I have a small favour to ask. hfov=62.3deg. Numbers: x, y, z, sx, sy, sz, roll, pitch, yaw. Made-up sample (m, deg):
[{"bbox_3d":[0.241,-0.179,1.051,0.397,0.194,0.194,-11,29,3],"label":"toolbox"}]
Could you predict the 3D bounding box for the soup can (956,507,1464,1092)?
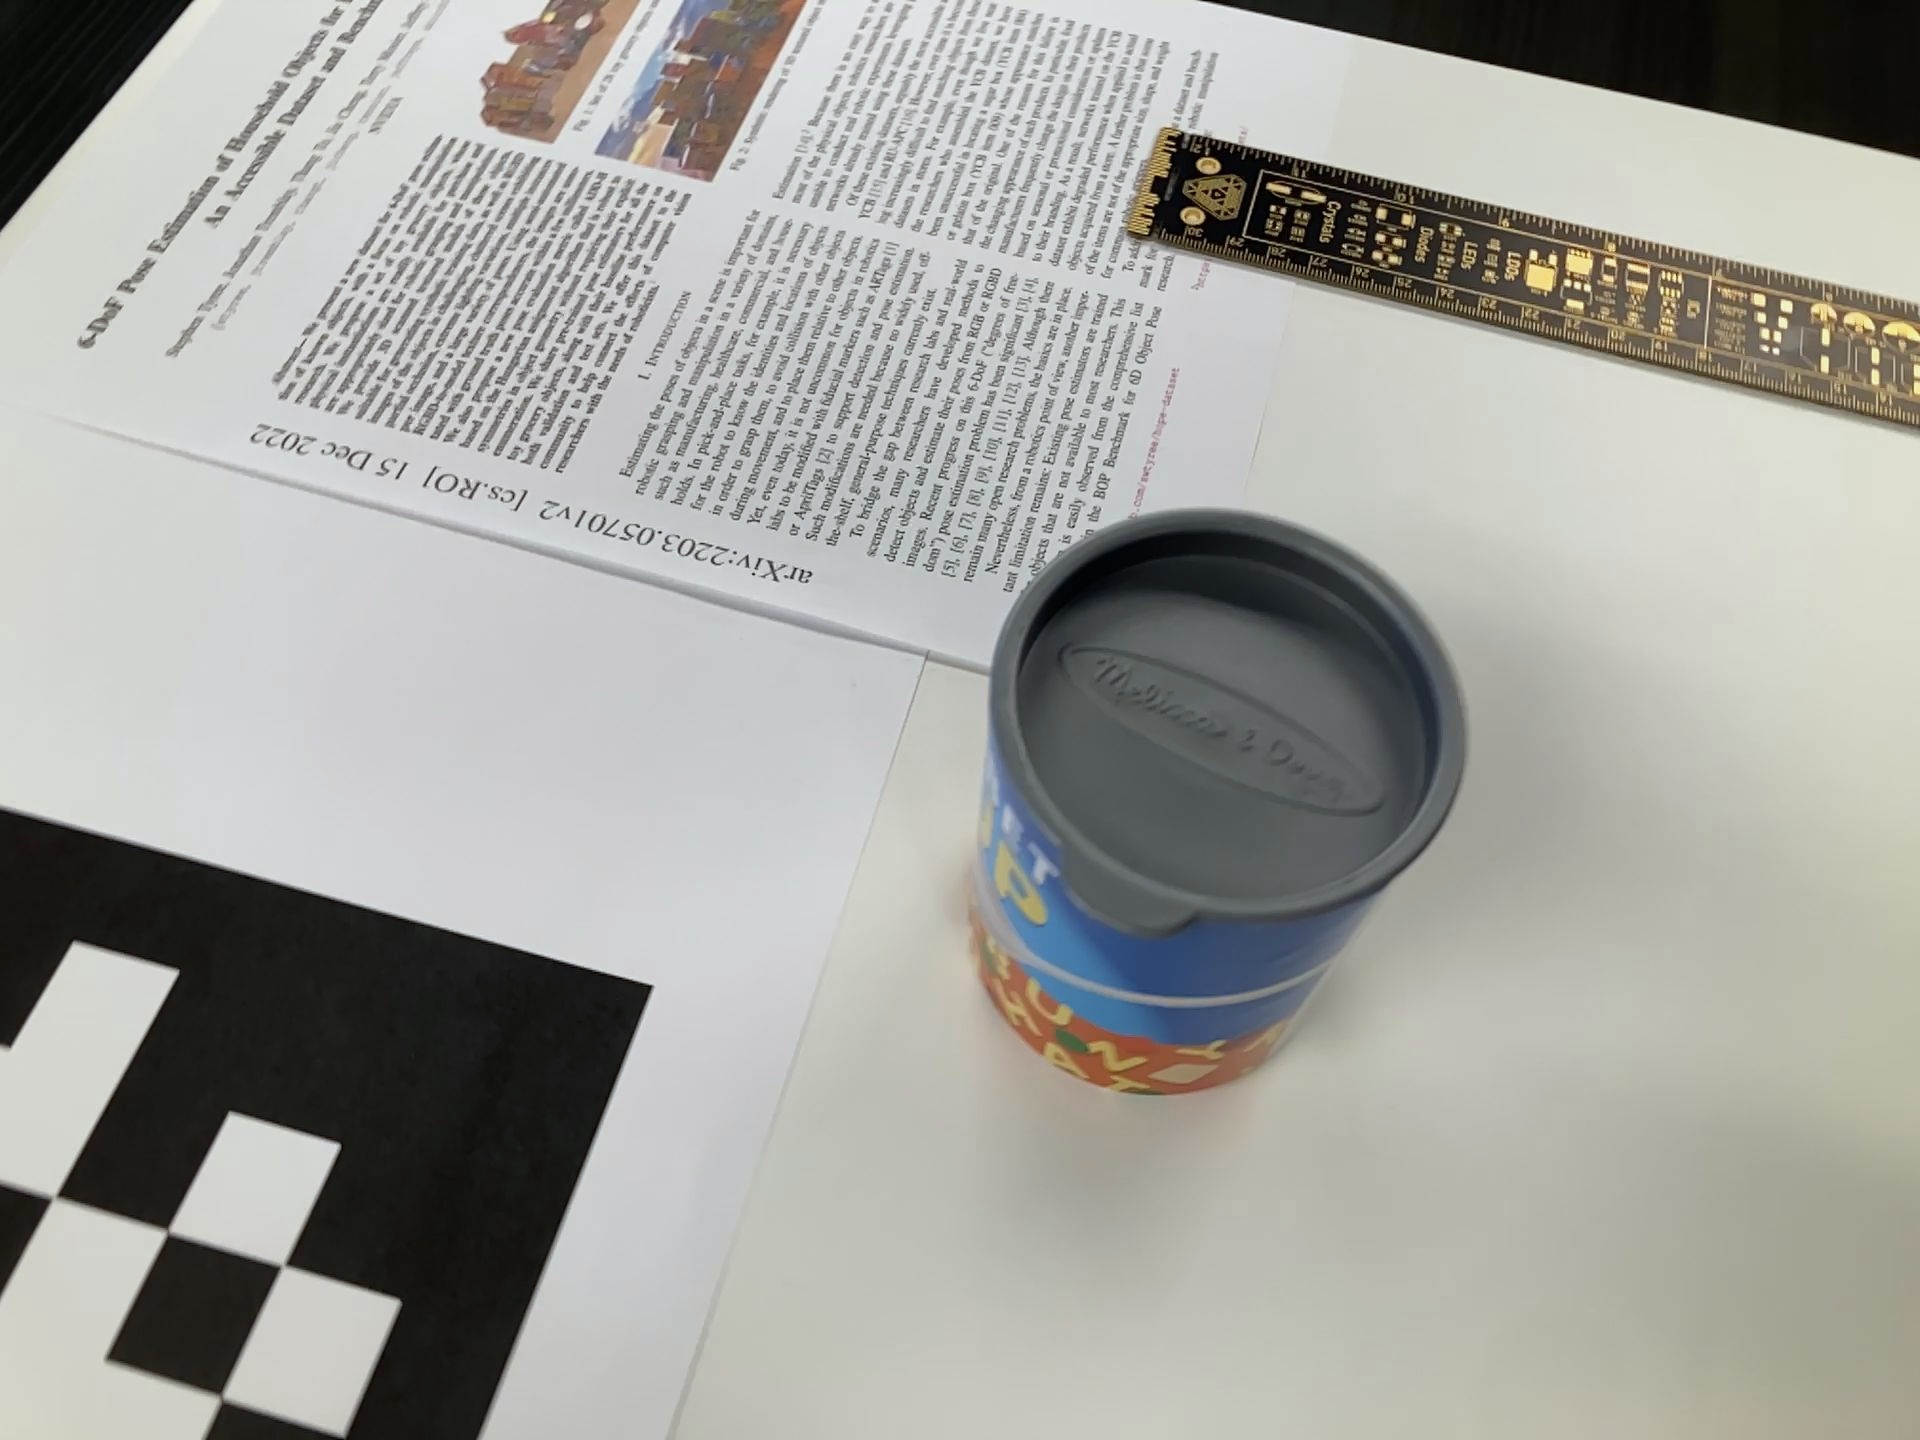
[{"bbox_3d":[0.033,0.016,0.258,0.071,0.084,0.071,1,60,-3],"label":"soup can"}]
